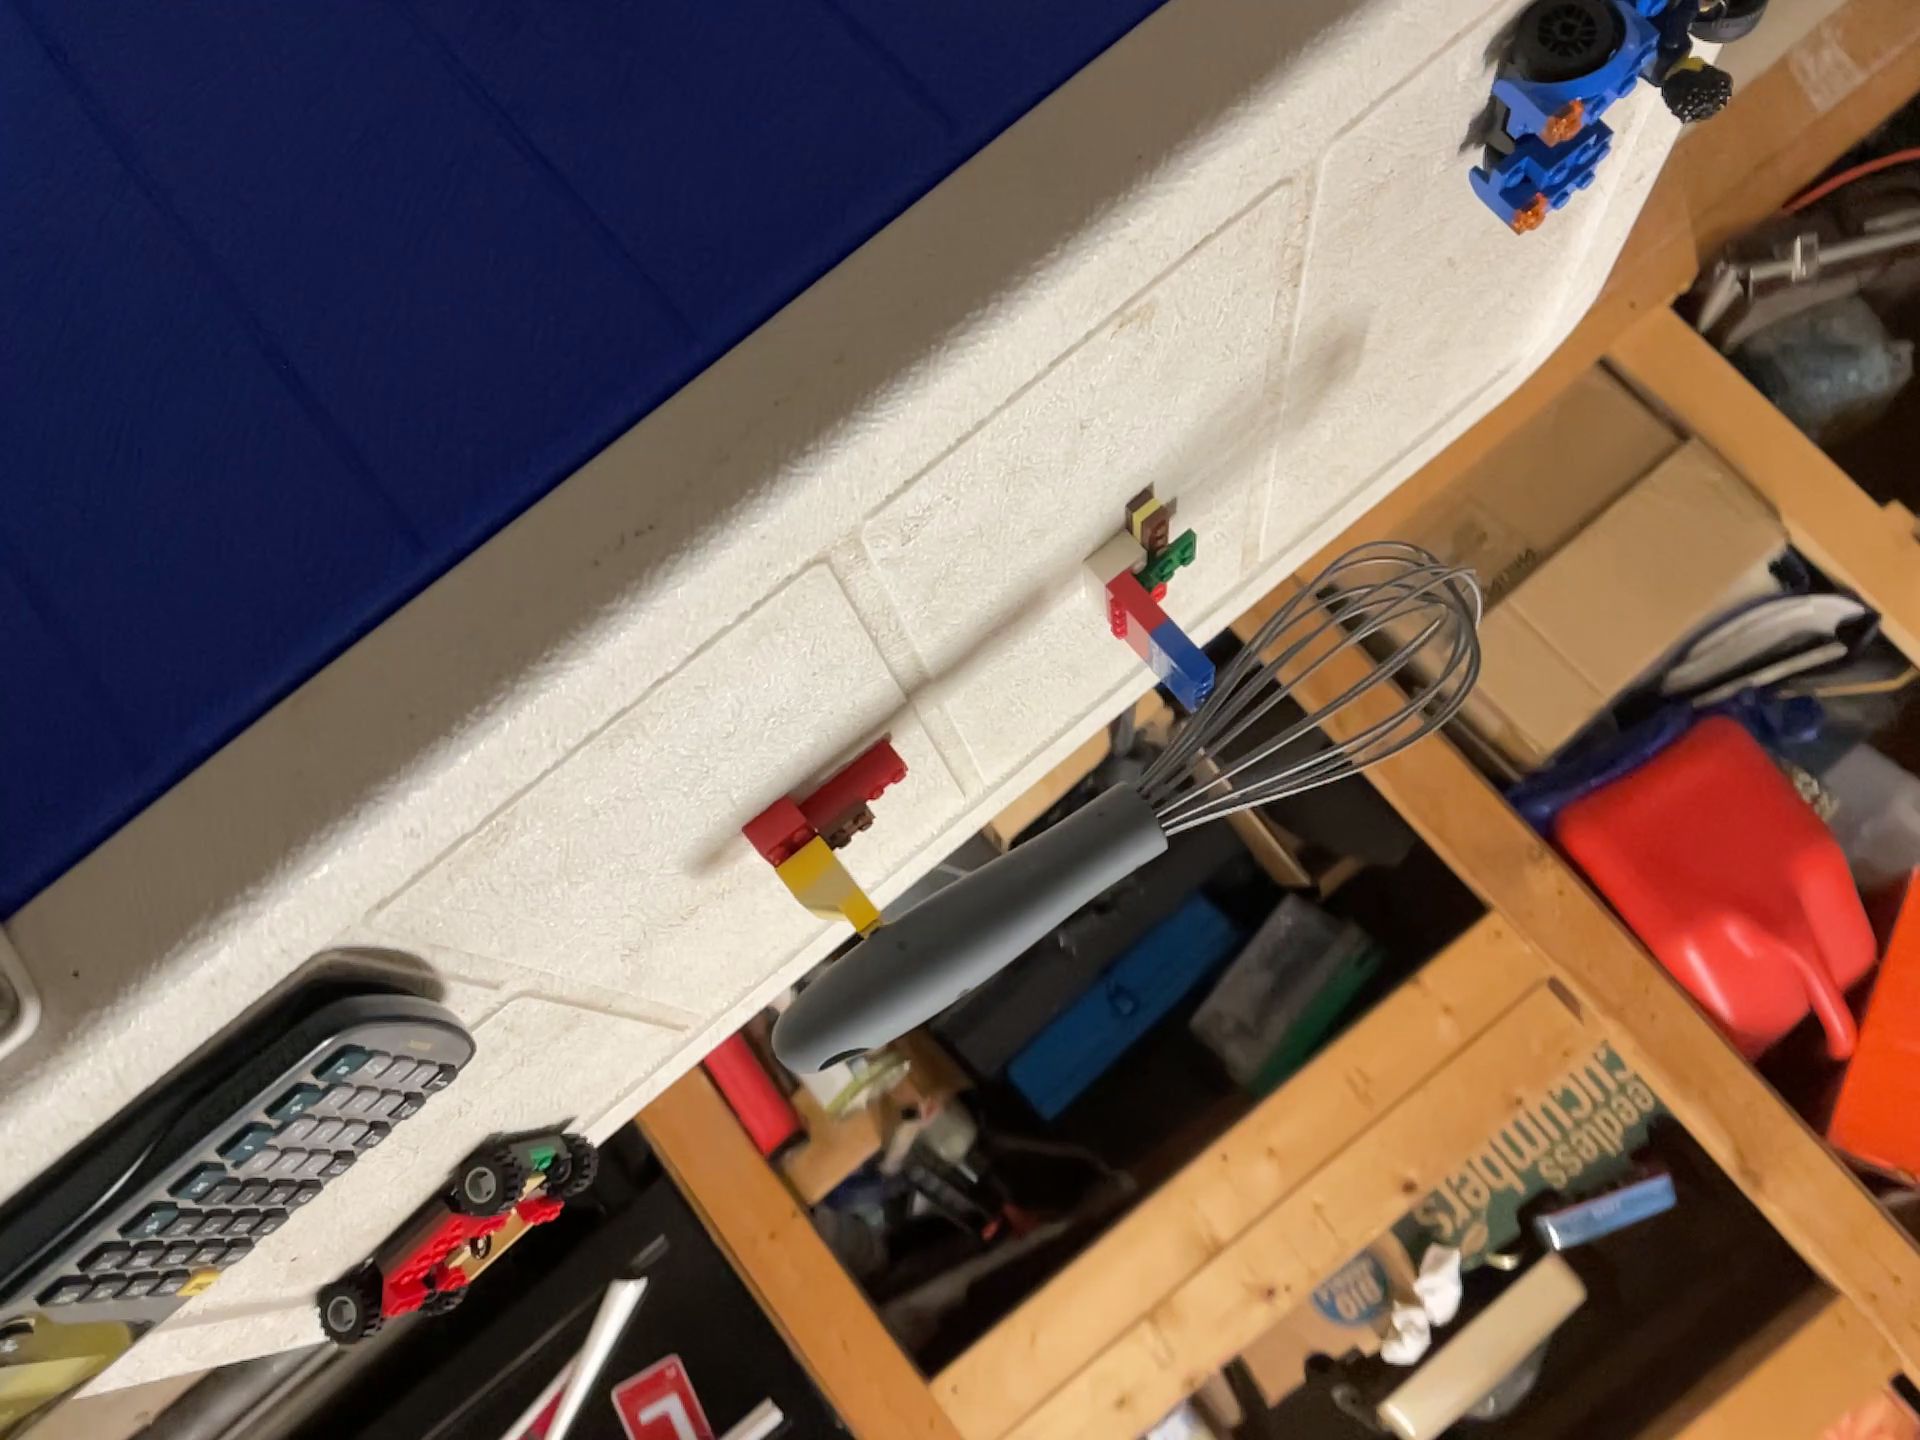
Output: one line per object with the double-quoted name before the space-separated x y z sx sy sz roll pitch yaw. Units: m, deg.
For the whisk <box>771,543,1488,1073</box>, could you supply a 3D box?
"whisk" 0.049 0.025 0.445 0.239 0.055 0.055 -34 161 -6
